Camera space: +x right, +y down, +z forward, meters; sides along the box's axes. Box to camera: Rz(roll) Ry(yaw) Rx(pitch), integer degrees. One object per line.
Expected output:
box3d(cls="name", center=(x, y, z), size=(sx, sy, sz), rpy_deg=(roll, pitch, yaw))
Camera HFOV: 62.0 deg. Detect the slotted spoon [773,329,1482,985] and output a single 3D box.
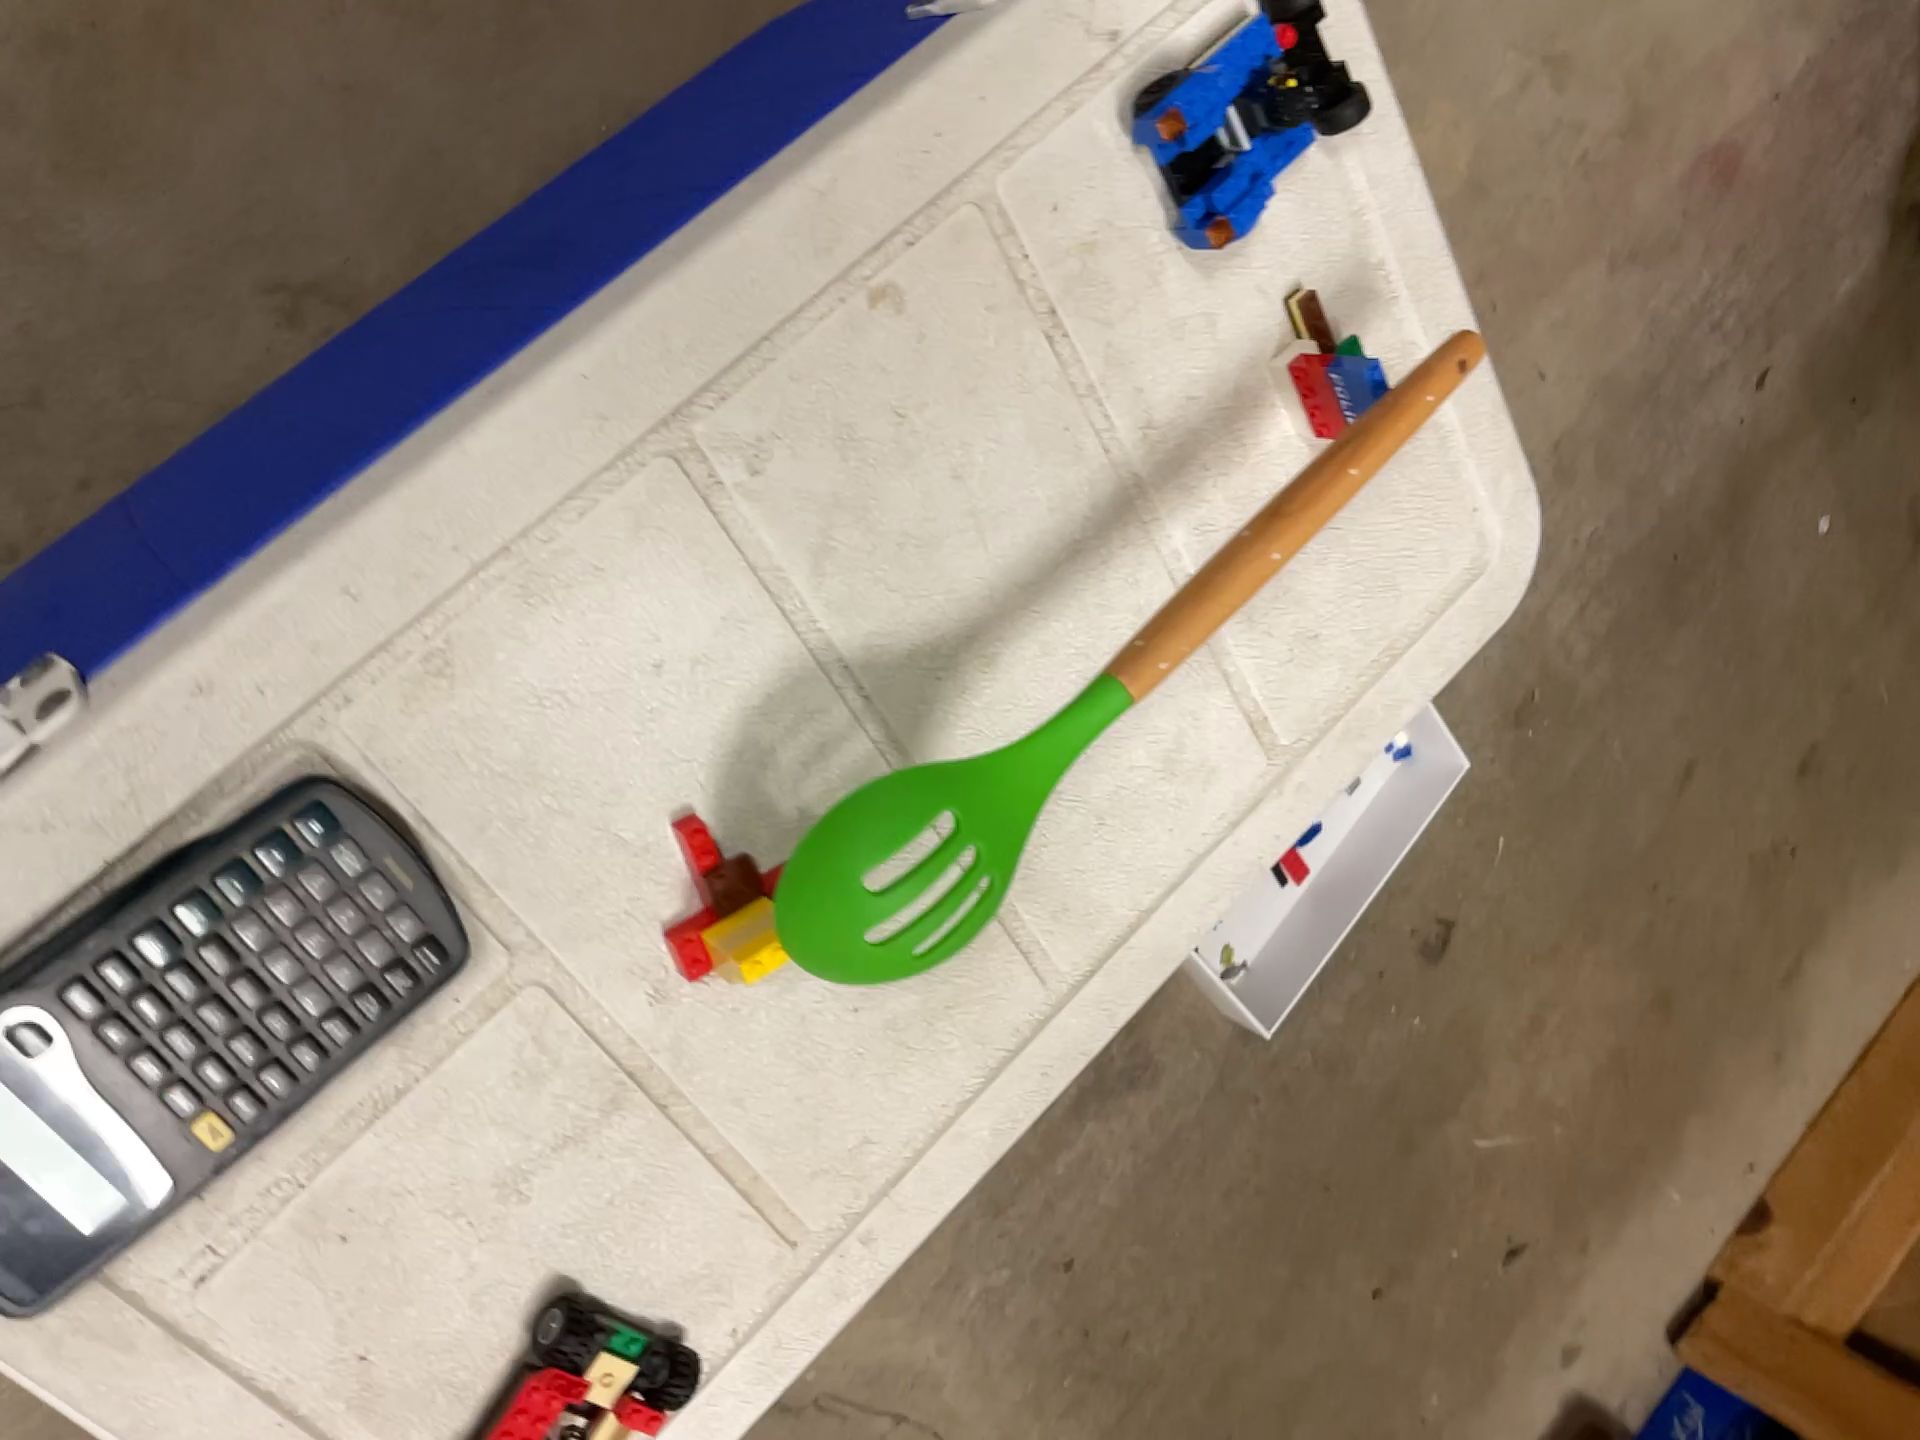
box3d(cls="slotted spoon", center=(0.067, -0.029, 0.512), size=(0.314, 0.031, 0.070), rpy_deg=(-43, 122, -16))
